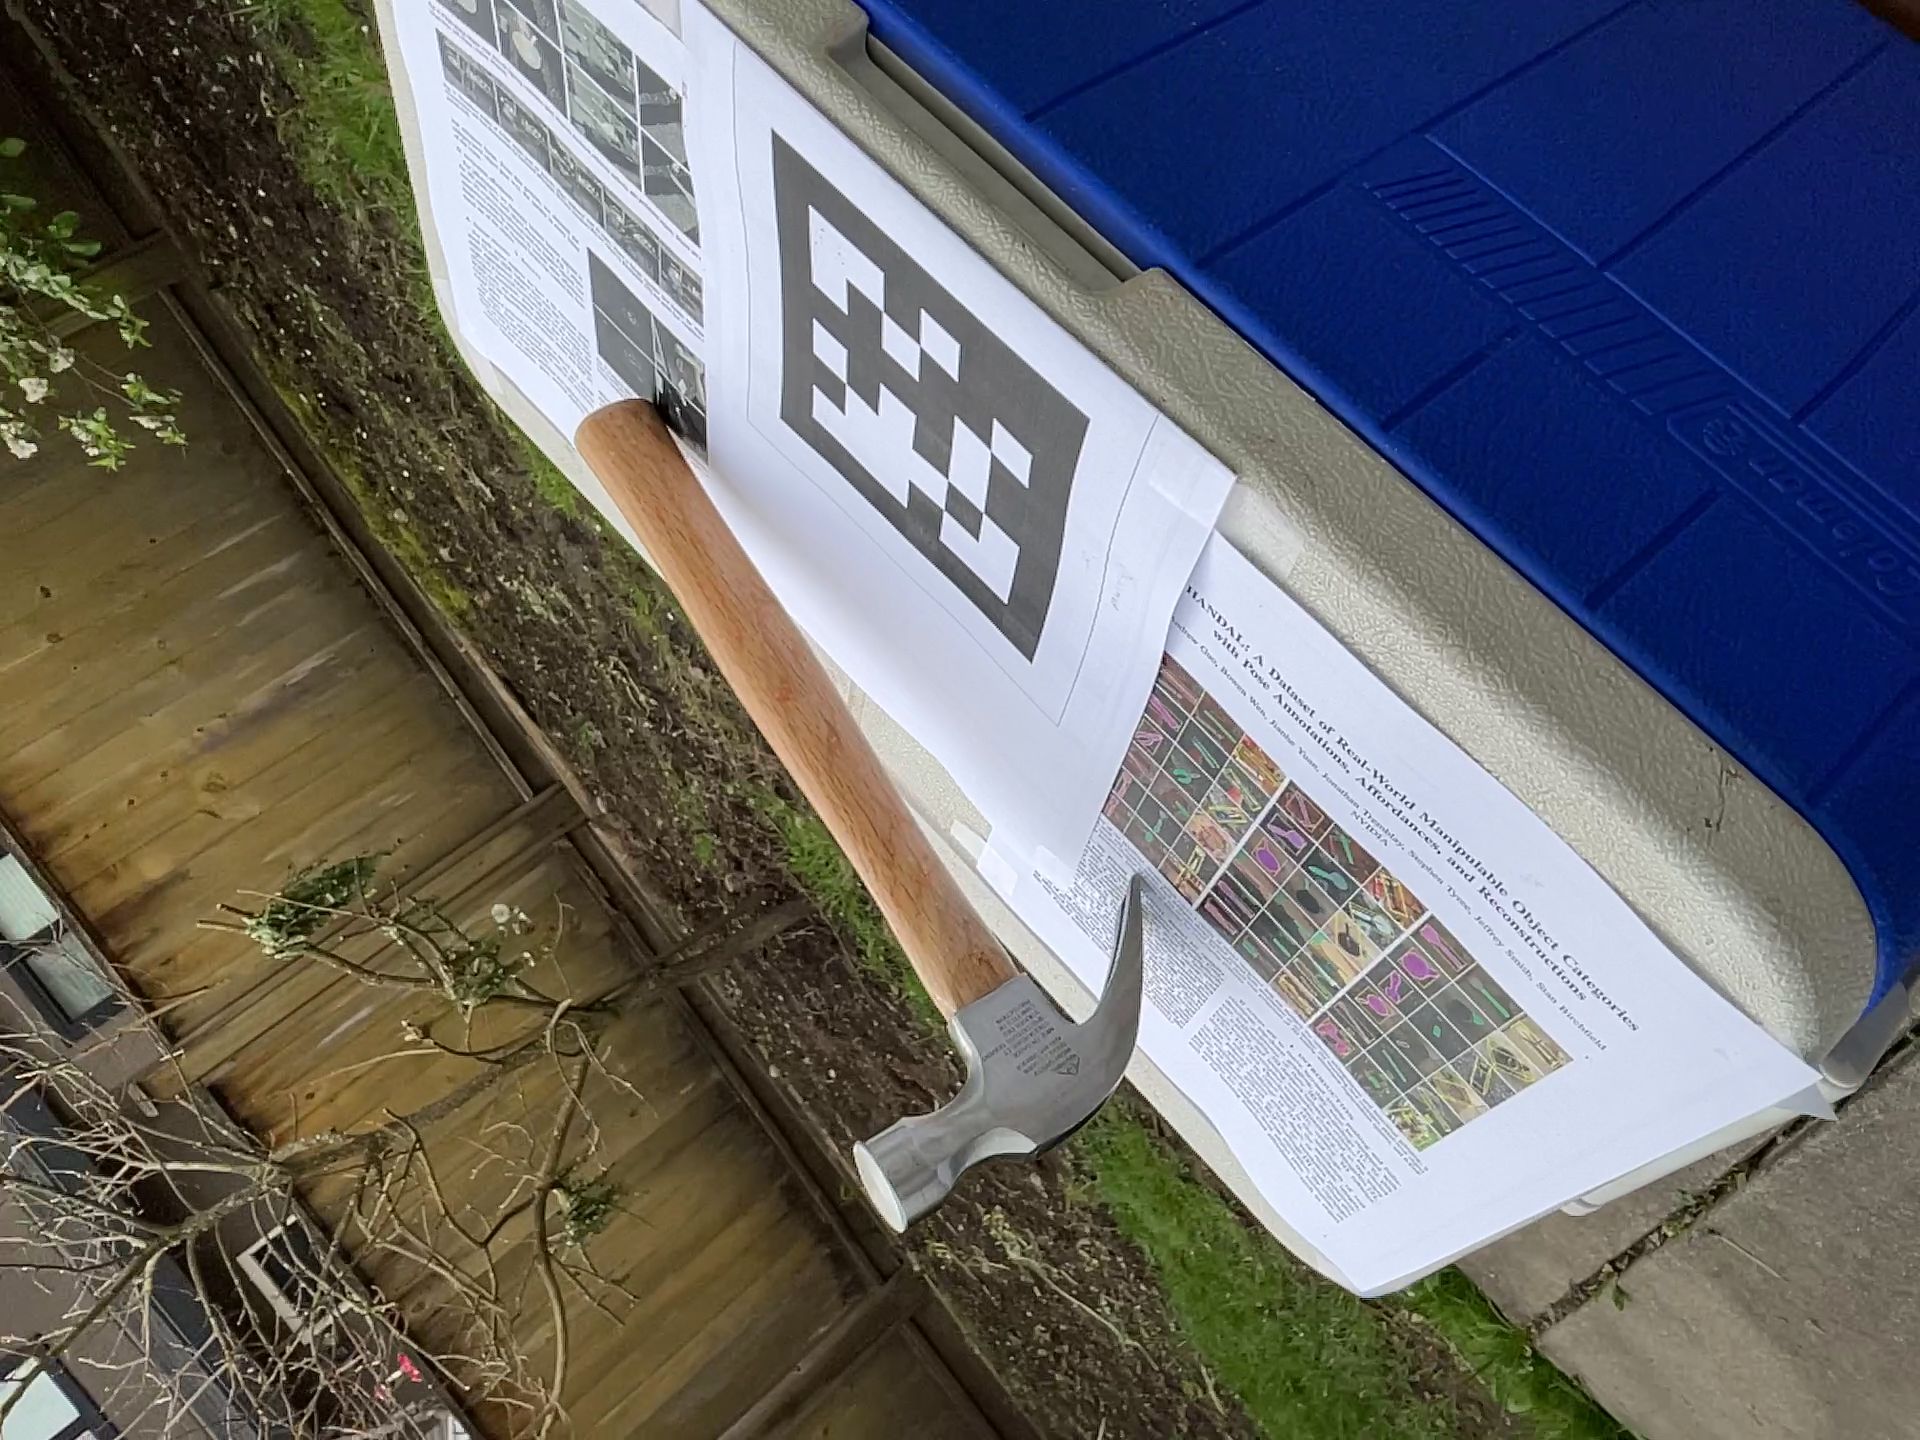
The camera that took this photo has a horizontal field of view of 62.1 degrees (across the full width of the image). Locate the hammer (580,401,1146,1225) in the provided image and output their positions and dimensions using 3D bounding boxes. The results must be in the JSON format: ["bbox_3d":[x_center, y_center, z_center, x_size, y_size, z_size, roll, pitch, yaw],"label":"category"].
[{"bbox_3d":[-0.049,0.006,0.582,0.332,0.130,0.031,56,157,22],"label":"hammer"}]
